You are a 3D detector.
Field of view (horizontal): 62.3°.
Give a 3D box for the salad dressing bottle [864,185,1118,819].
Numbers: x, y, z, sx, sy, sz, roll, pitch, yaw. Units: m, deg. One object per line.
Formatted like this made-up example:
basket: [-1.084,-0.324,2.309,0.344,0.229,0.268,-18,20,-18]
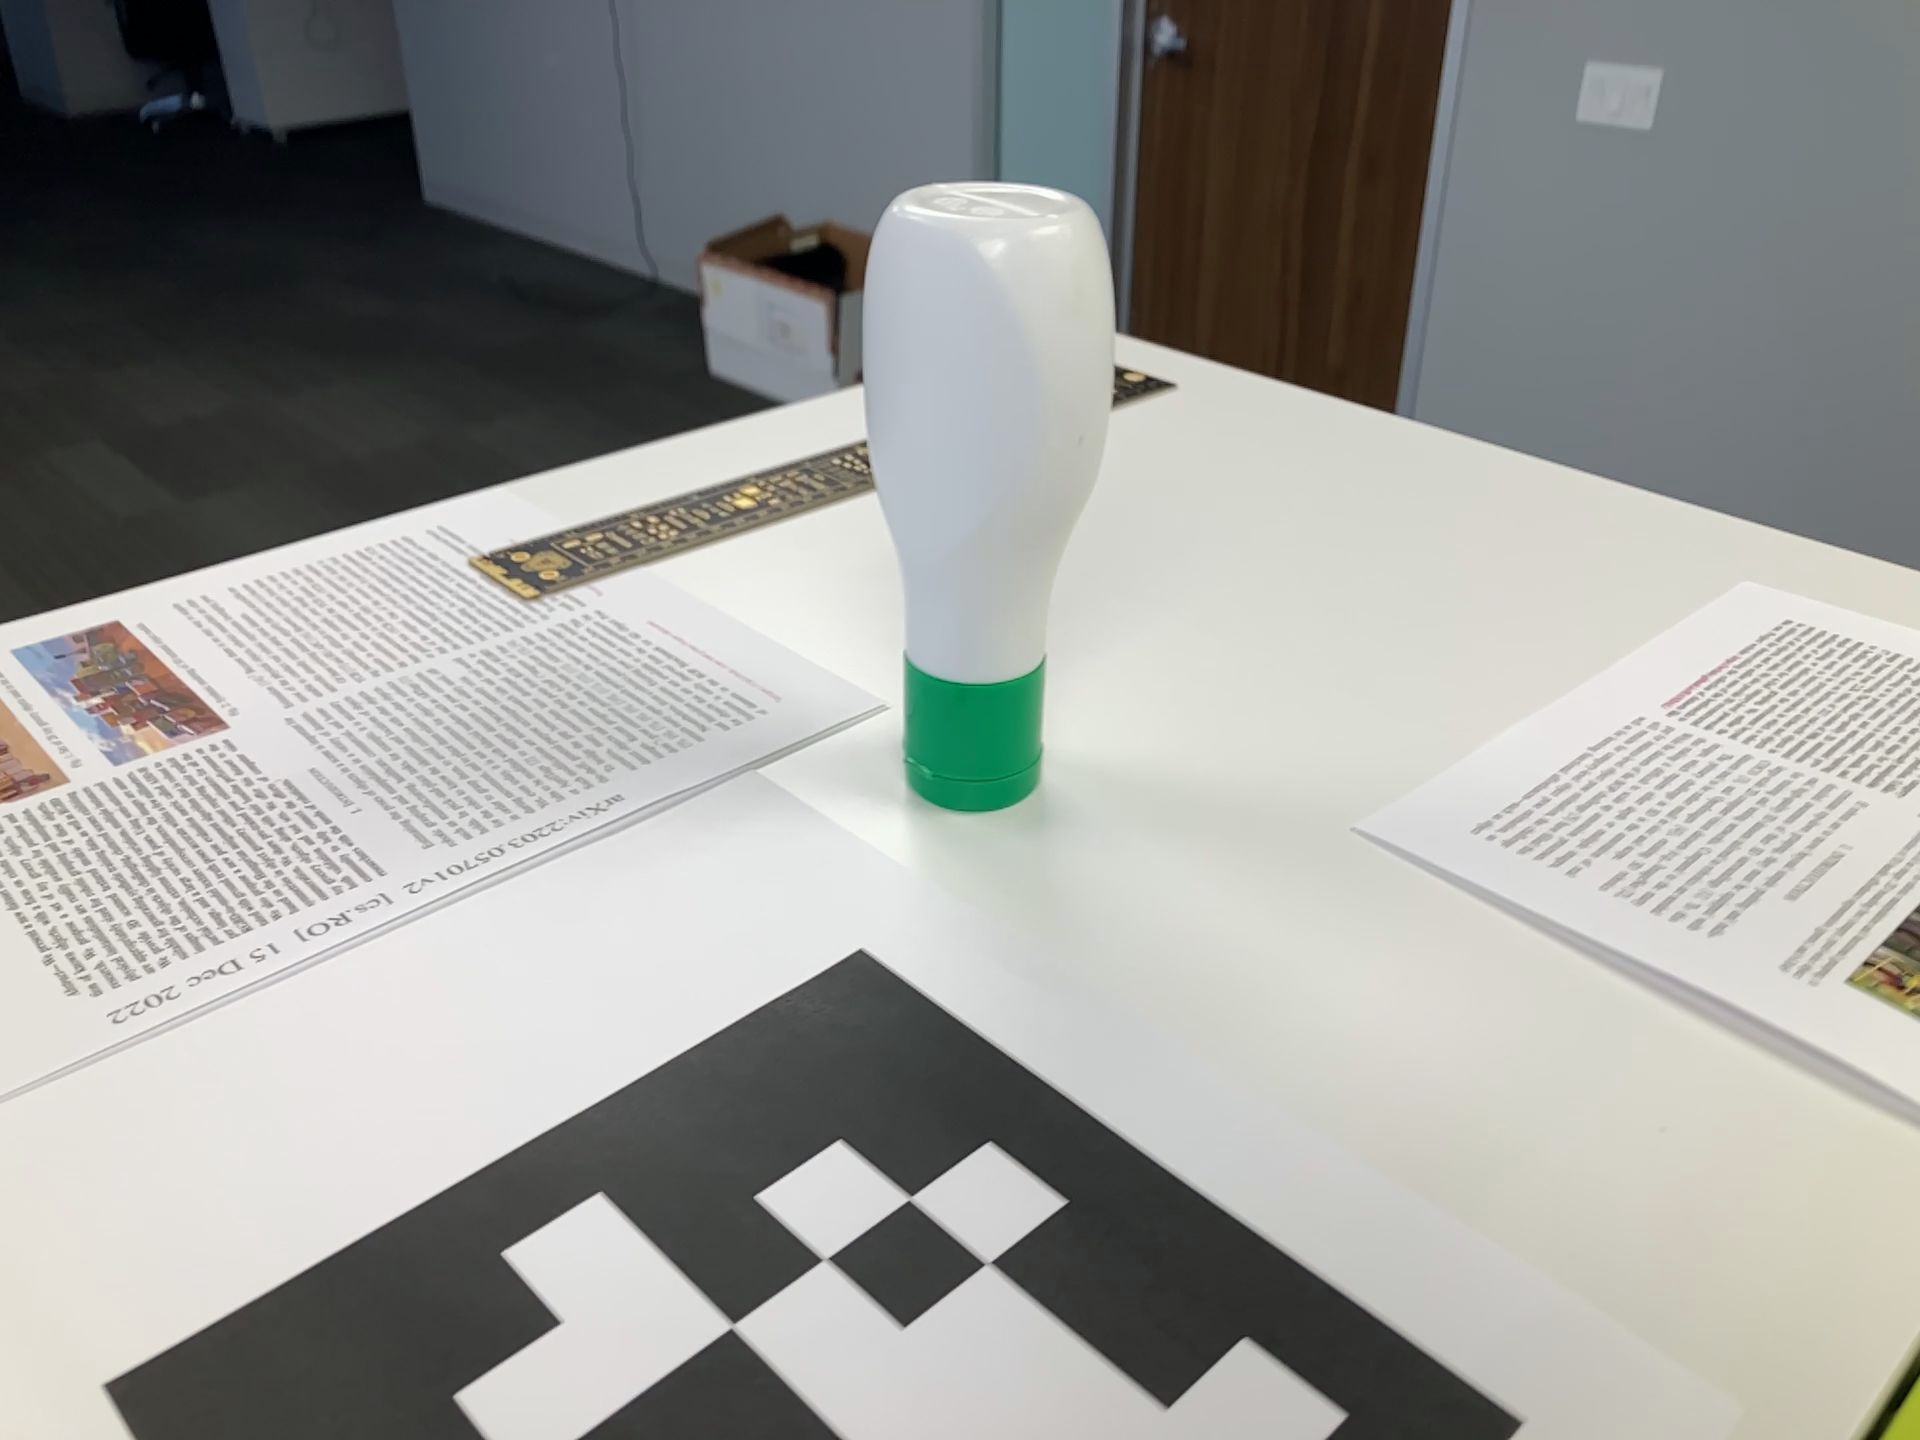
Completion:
salad dressing bottle: [0.005,-0.048,0.378,0.044,0.147,0.064,-22,37,-36]
